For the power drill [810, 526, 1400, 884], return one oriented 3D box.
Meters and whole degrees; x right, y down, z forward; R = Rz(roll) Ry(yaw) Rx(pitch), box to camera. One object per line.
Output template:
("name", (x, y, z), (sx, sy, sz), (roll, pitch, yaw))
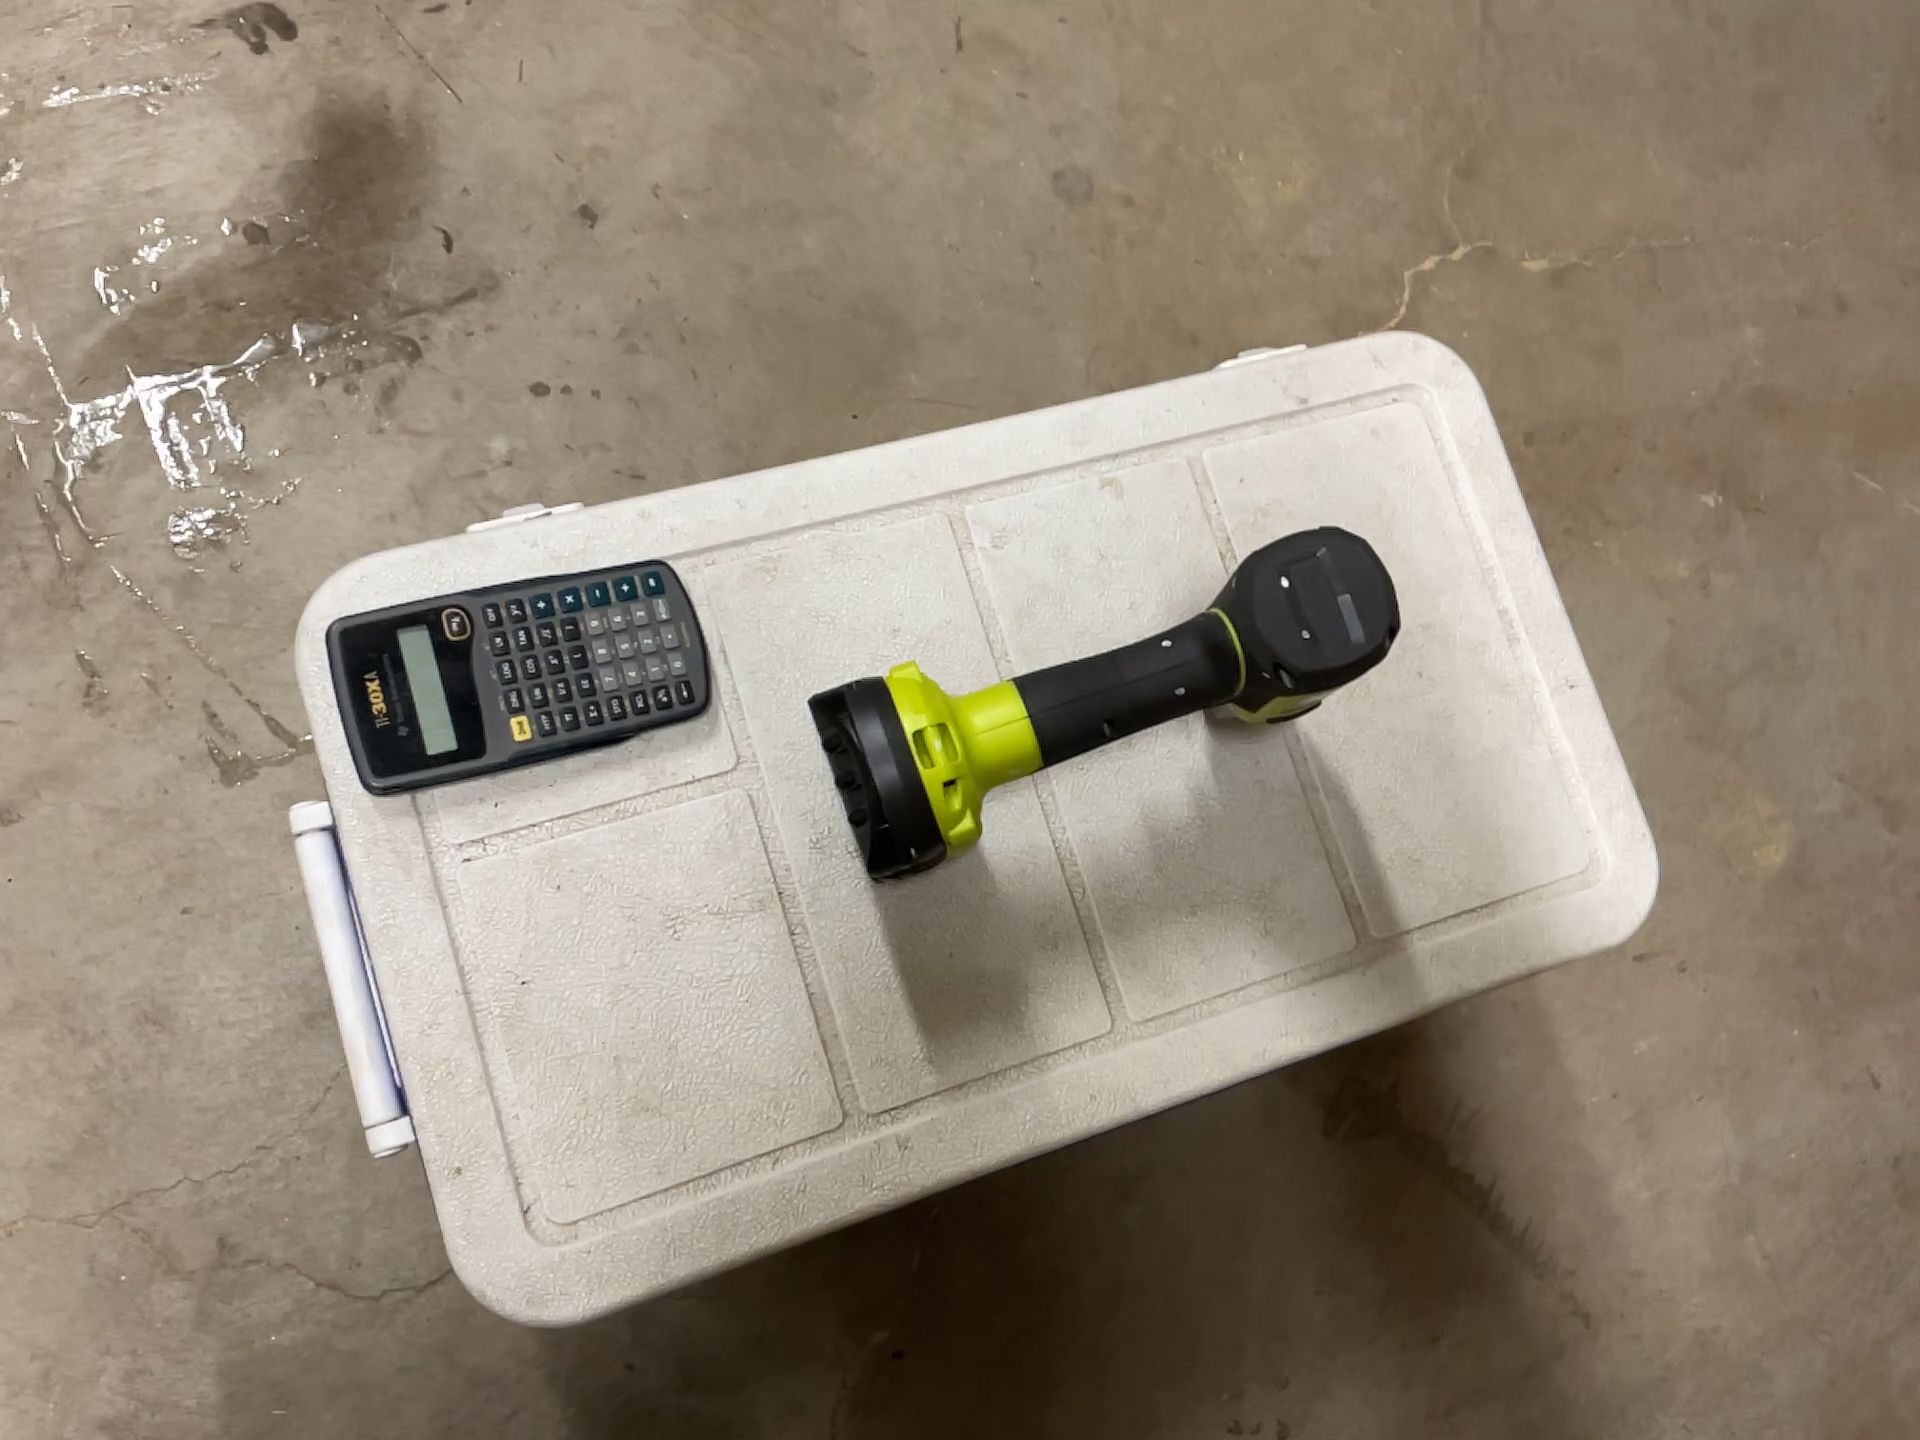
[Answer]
("power drill", (0.060, -0.004, 0.687), (0.228, 0.190, 0.080), (-20, 83, -3))
